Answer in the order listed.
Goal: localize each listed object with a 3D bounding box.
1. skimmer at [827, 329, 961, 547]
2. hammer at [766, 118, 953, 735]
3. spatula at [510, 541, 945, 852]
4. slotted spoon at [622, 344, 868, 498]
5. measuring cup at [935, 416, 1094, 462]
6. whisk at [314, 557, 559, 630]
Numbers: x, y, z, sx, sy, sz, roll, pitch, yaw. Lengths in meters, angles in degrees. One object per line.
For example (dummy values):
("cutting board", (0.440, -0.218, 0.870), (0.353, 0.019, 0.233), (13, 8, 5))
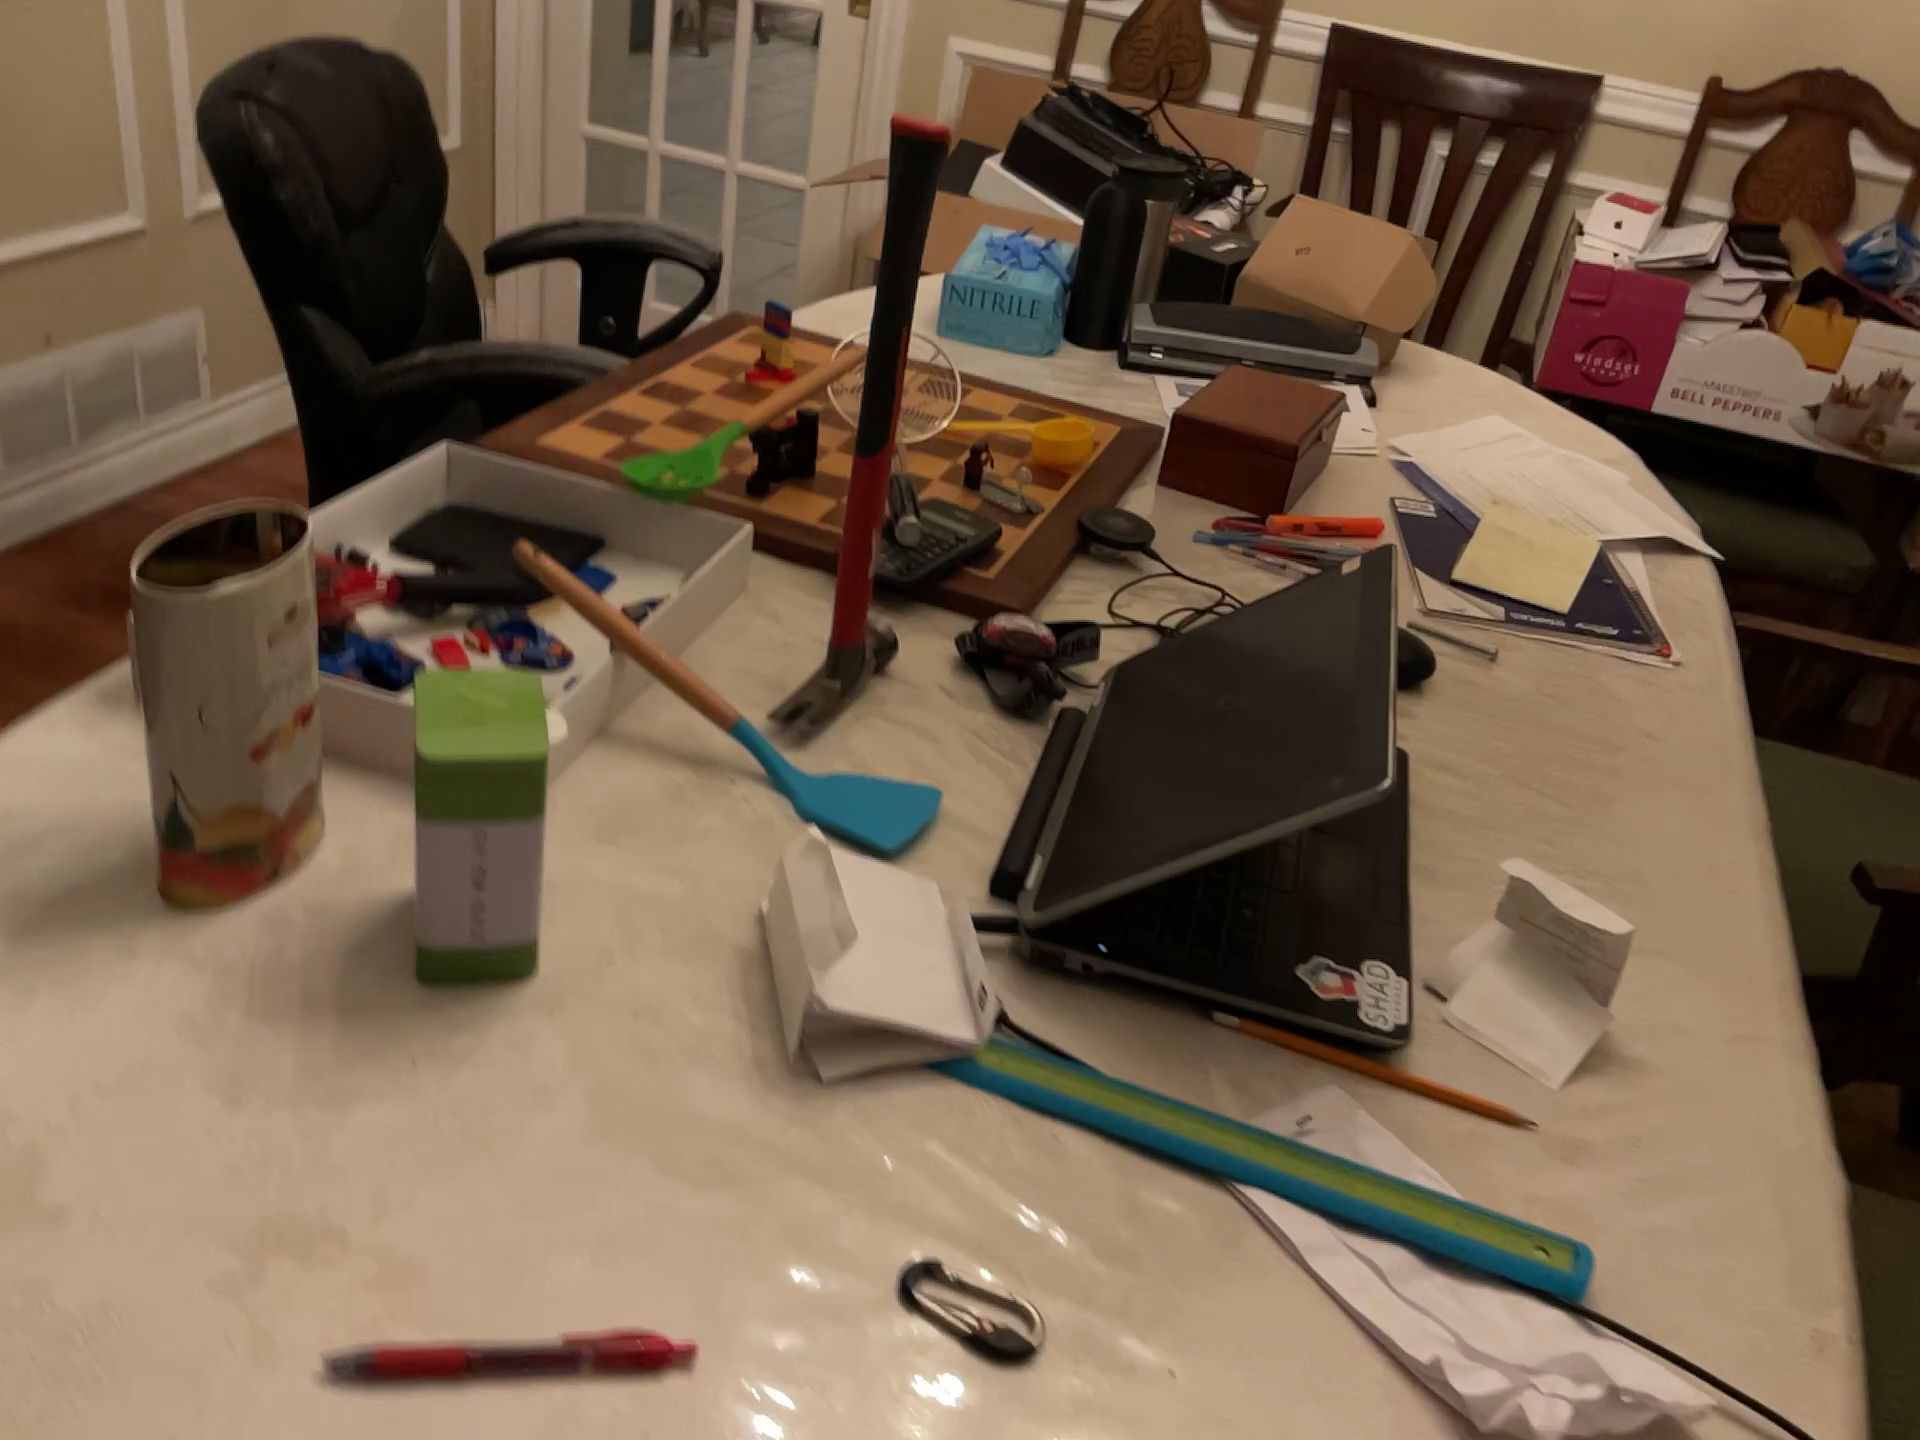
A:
("skimmer", (-0.051, -0.252, 1.372), (0.127, 0.090, 0.363), (7, 26, -9))
("hammer", (-0.059, -0.176, 1.007), (0.038, 0.386, 0.143), (19, 31, 14))
("spatula", (-0.156, -0.020, 0.998), (0.317, 0.044, 0.082), (38, 37, 5))
("slotted spoon", (-0.163, -0.250, 1.308), (0.070, 0.031, 0.313), (22, 41, 22))
("measuring cup", (0.051, -0.269, 1.517), (0.157, 0.029, 0.062), (6, 31, 19))
("whisk", (-0.388, -0.085, 1.046), (0.295, 0.073, 0.073), (-5, 50, -50))
